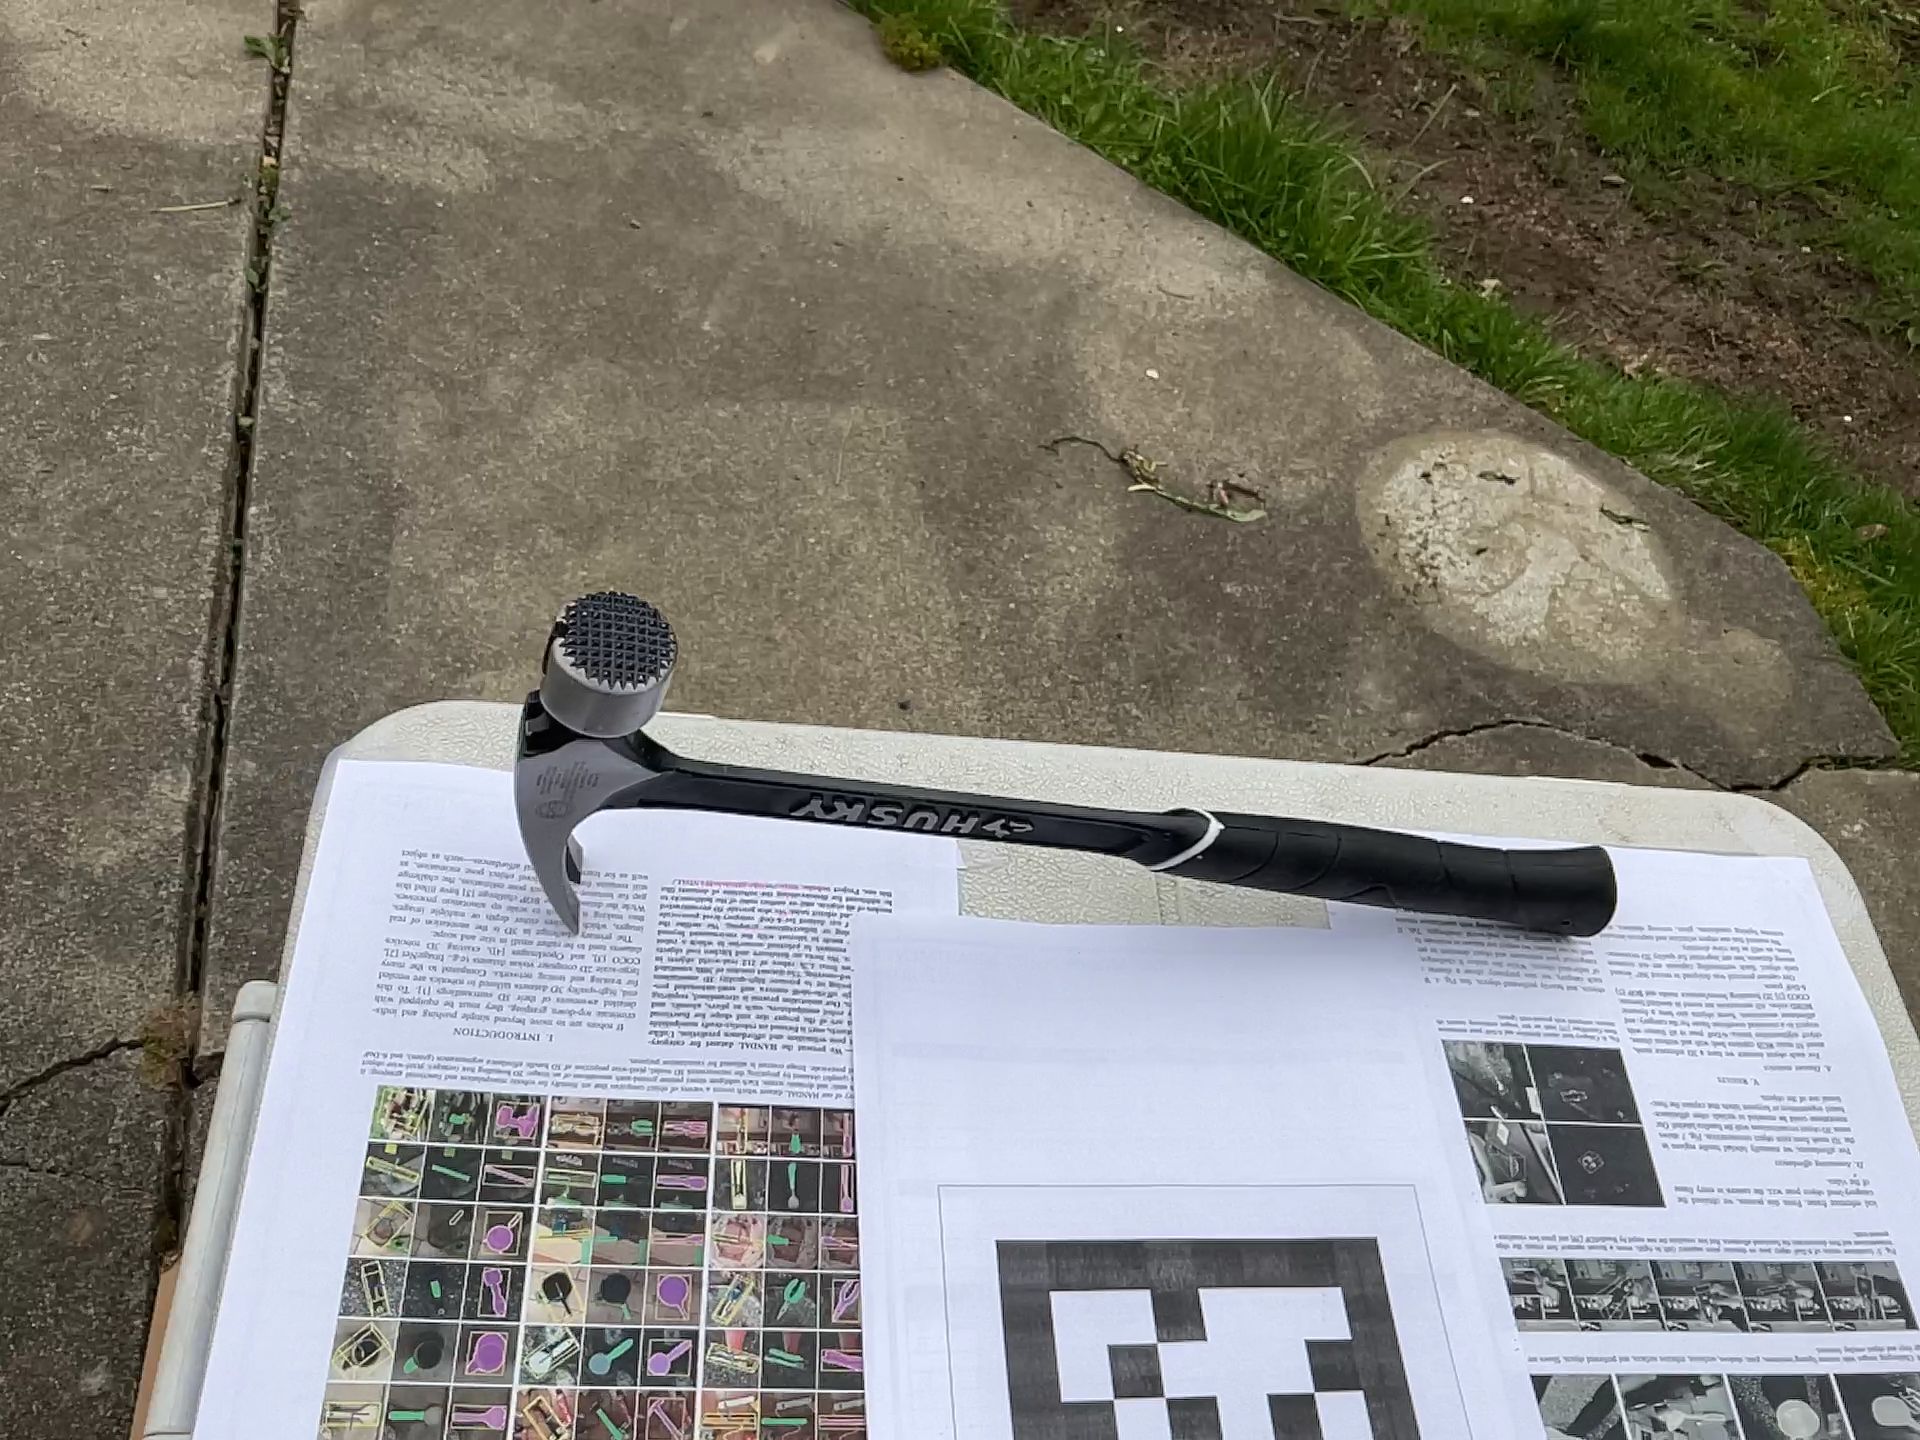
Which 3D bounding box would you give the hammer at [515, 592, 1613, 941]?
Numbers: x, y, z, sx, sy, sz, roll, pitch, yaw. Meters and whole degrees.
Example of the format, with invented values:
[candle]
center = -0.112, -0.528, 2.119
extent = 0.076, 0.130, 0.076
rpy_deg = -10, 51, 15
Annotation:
[hammer]
center = 0.054, 0.044, 0.548
extent = 0.409, 0.149, 0.036
rpy_deg = 9, 54, -20
